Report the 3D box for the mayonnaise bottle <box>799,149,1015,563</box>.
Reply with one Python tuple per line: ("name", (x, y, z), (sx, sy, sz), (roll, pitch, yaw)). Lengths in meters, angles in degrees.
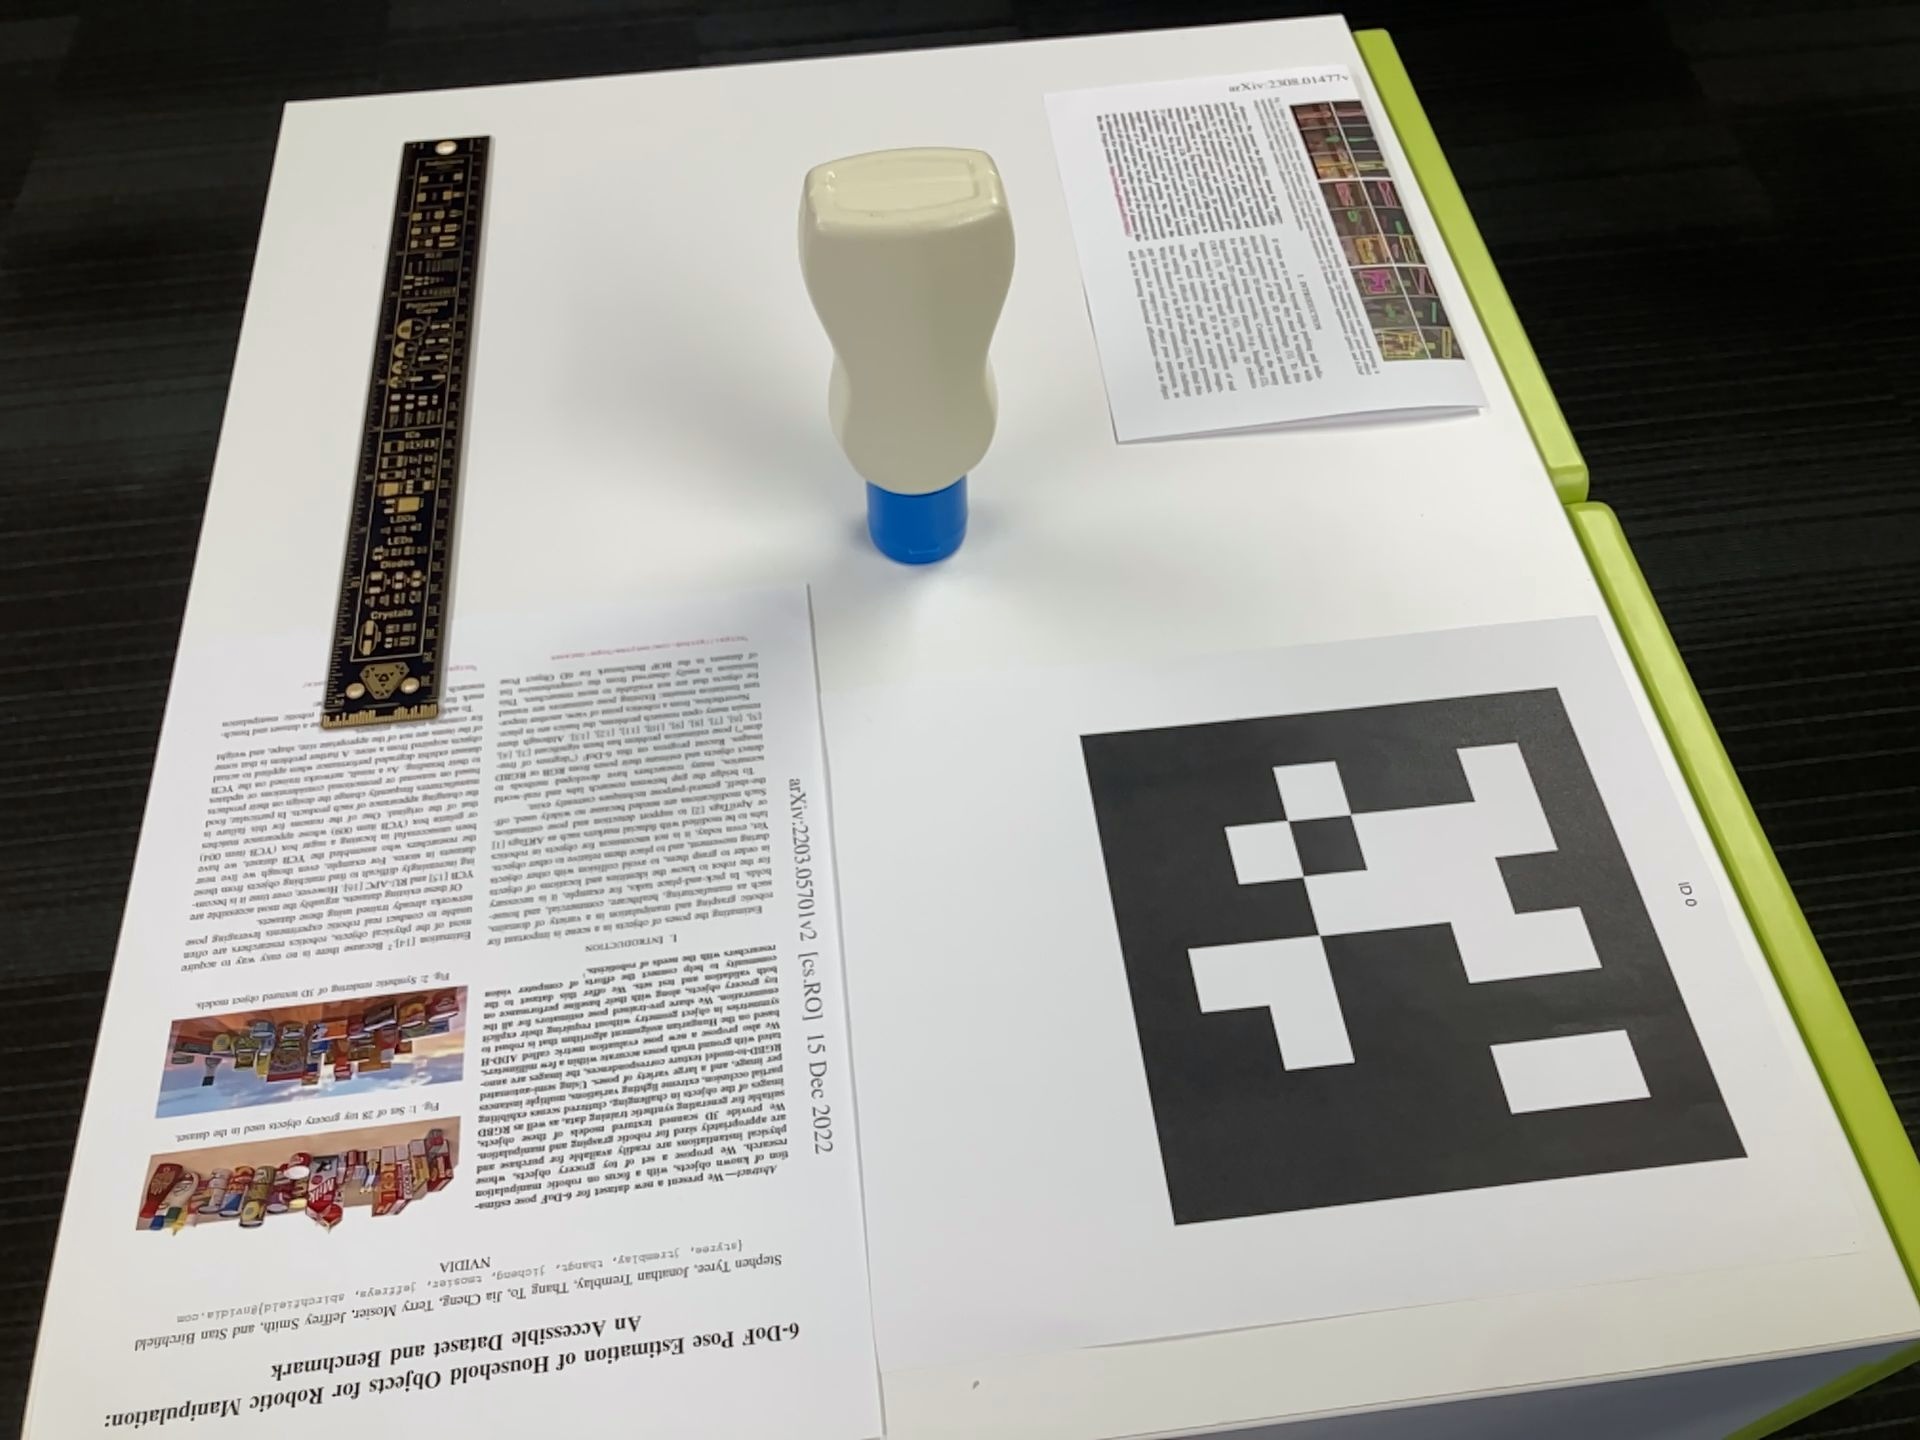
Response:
("mayonnaise bottle", (-0.016, -0.113, 0.521), (0.065, 0.148, 0.041), (-7, 55, -4))
